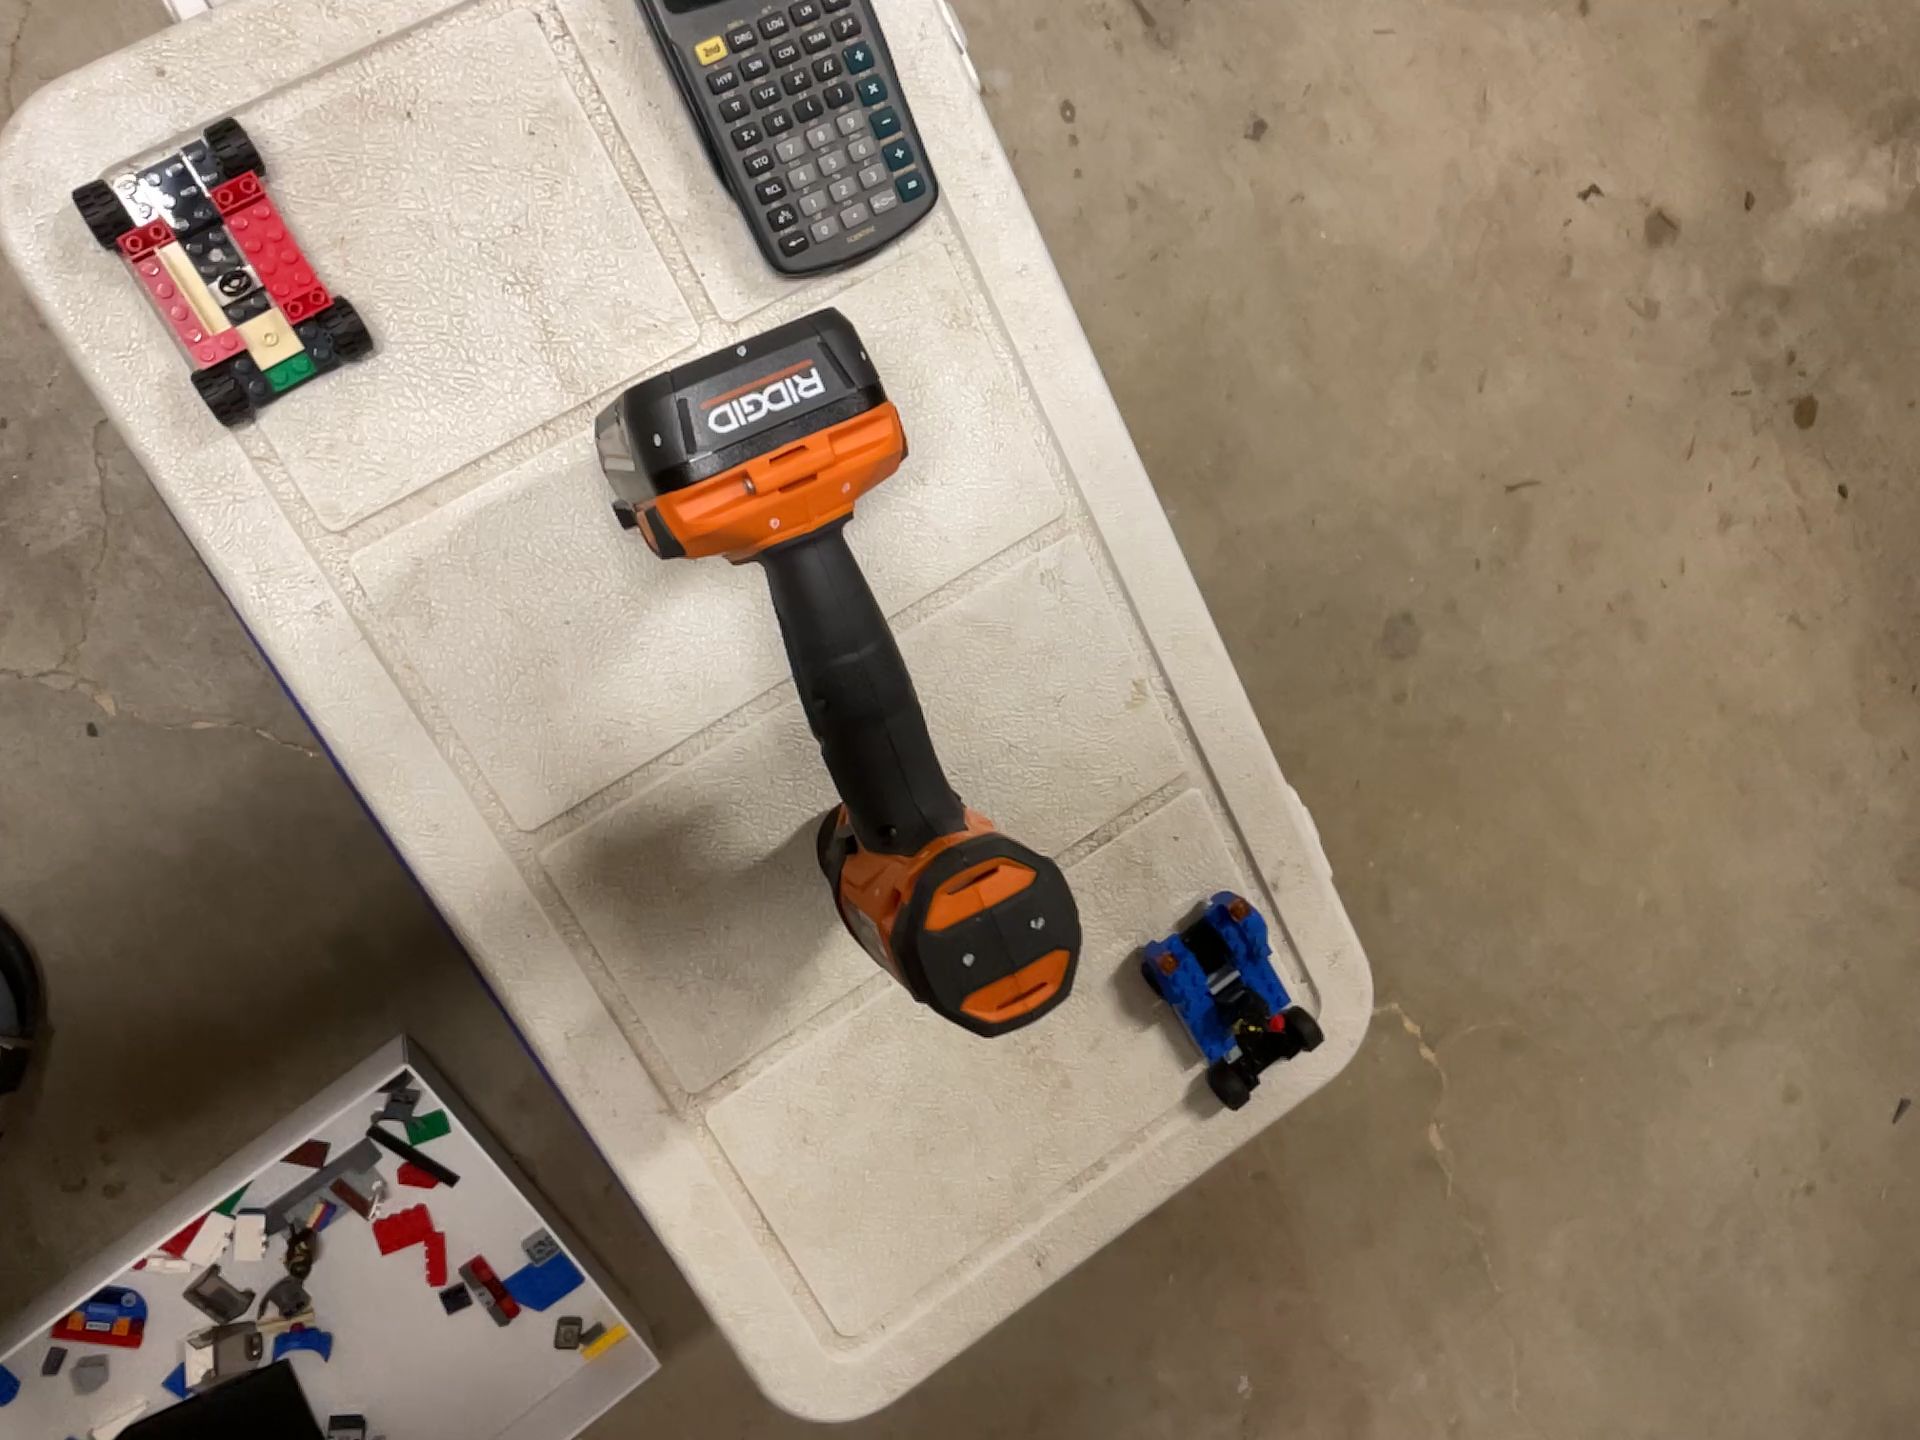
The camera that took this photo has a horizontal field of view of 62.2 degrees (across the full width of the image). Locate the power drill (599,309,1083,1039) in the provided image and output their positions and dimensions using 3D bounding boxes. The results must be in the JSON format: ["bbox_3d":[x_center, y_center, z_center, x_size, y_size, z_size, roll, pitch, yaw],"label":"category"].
[{"bbox_3d":[-0.045,-0.014,0.555,0.084,0.185,0.226,-26,102,-13],"label":"power drill"}]
